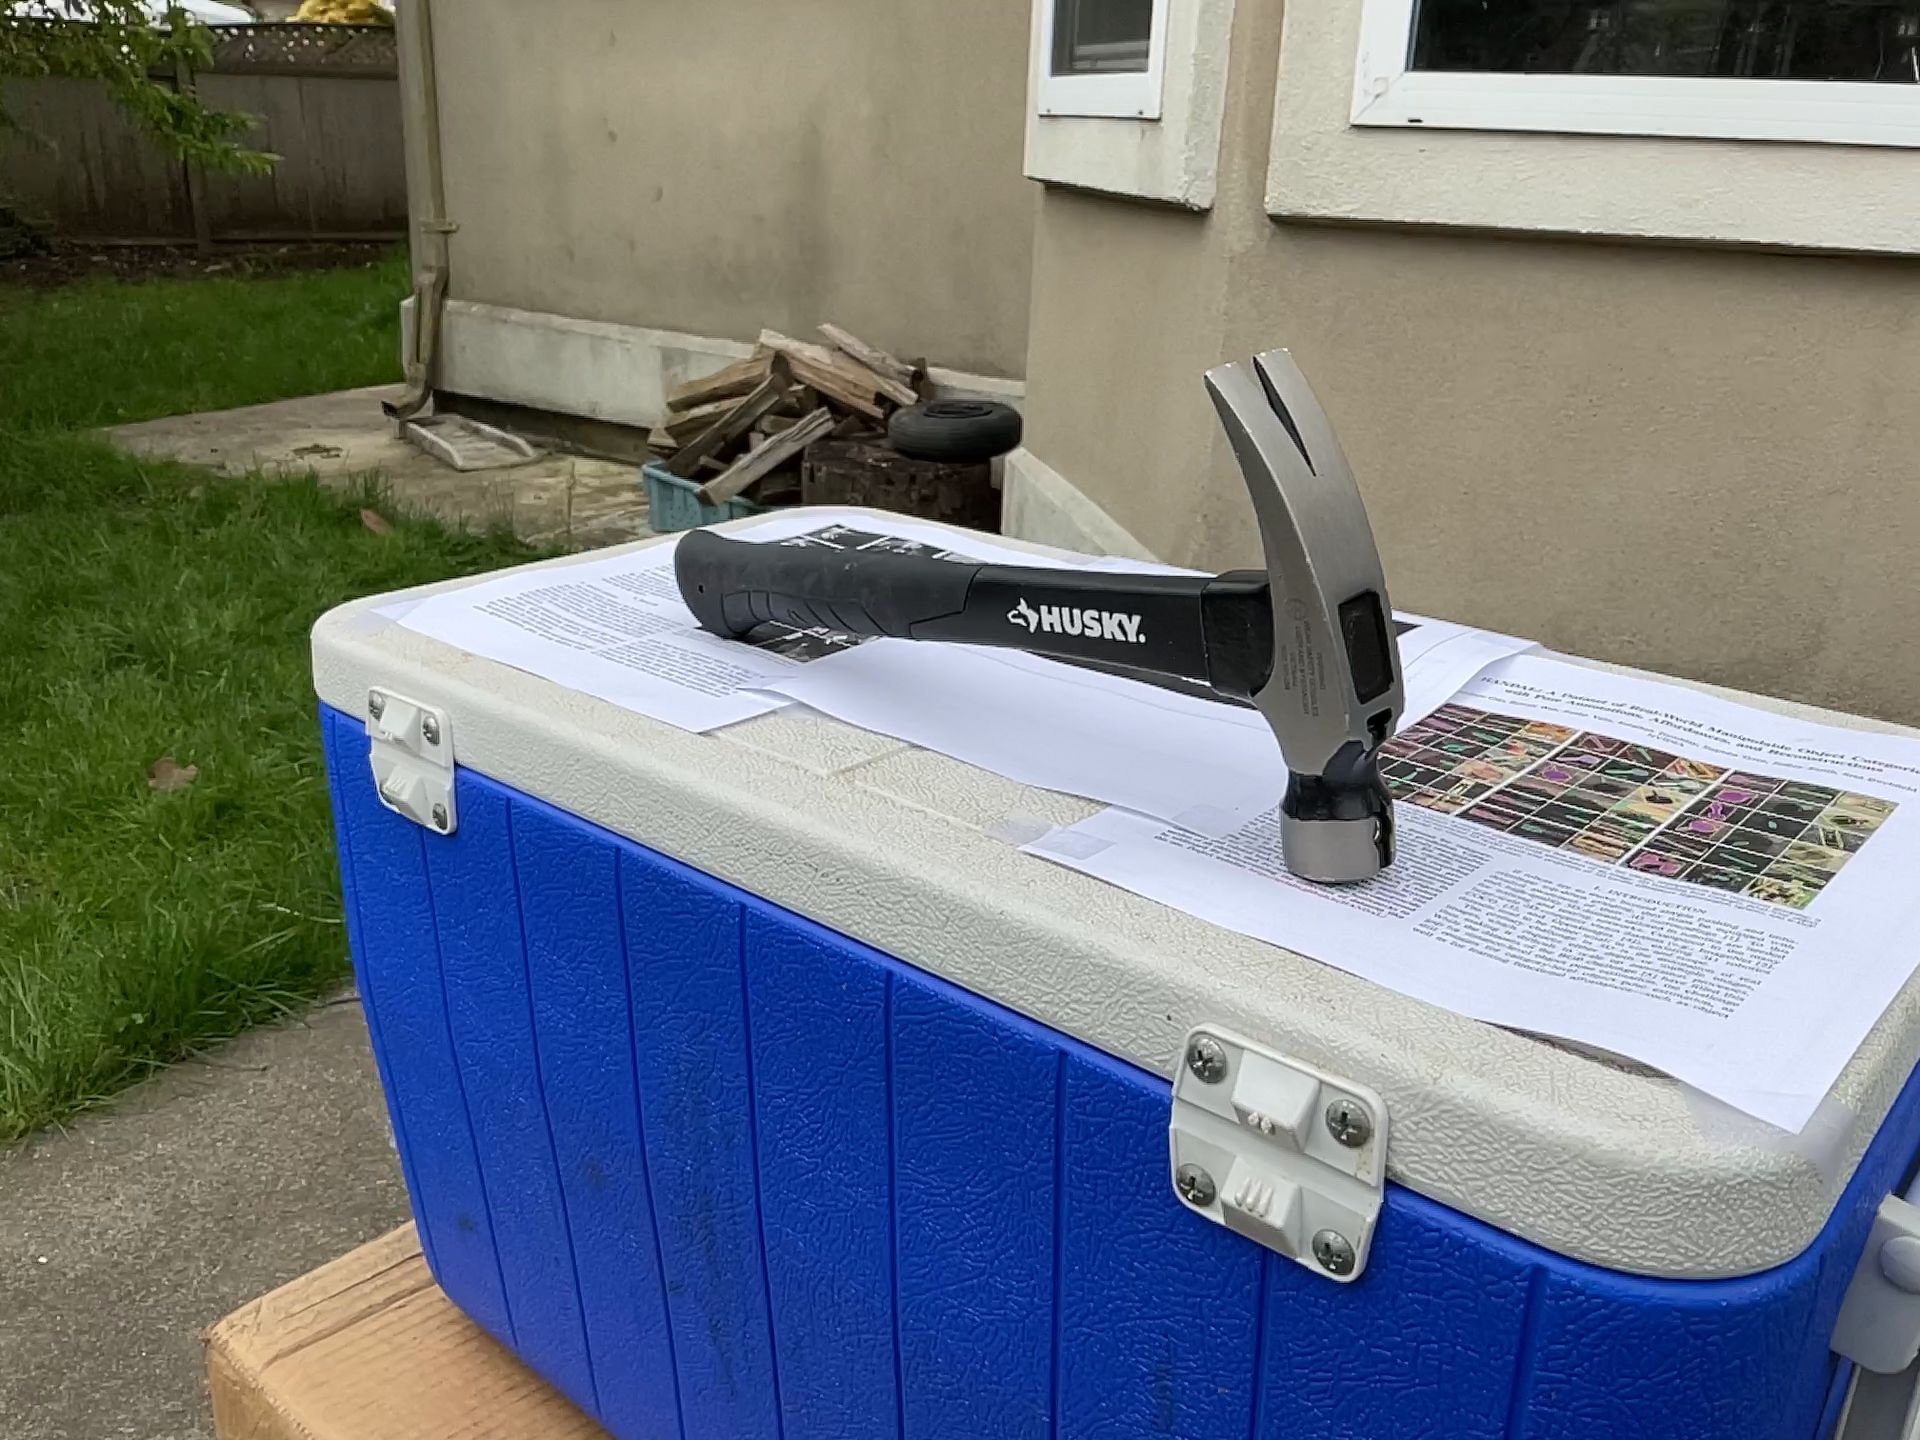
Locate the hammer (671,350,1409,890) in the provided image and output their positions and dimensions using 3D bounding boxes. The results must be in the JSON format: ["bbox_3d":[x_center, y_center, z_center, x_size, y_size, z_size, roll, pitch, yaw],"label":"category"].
[{"bbox_3d":[-0.001,-0.044,0.549,0.035,0.146,0.335,-23,22,-37],"label":"hammer"}]
